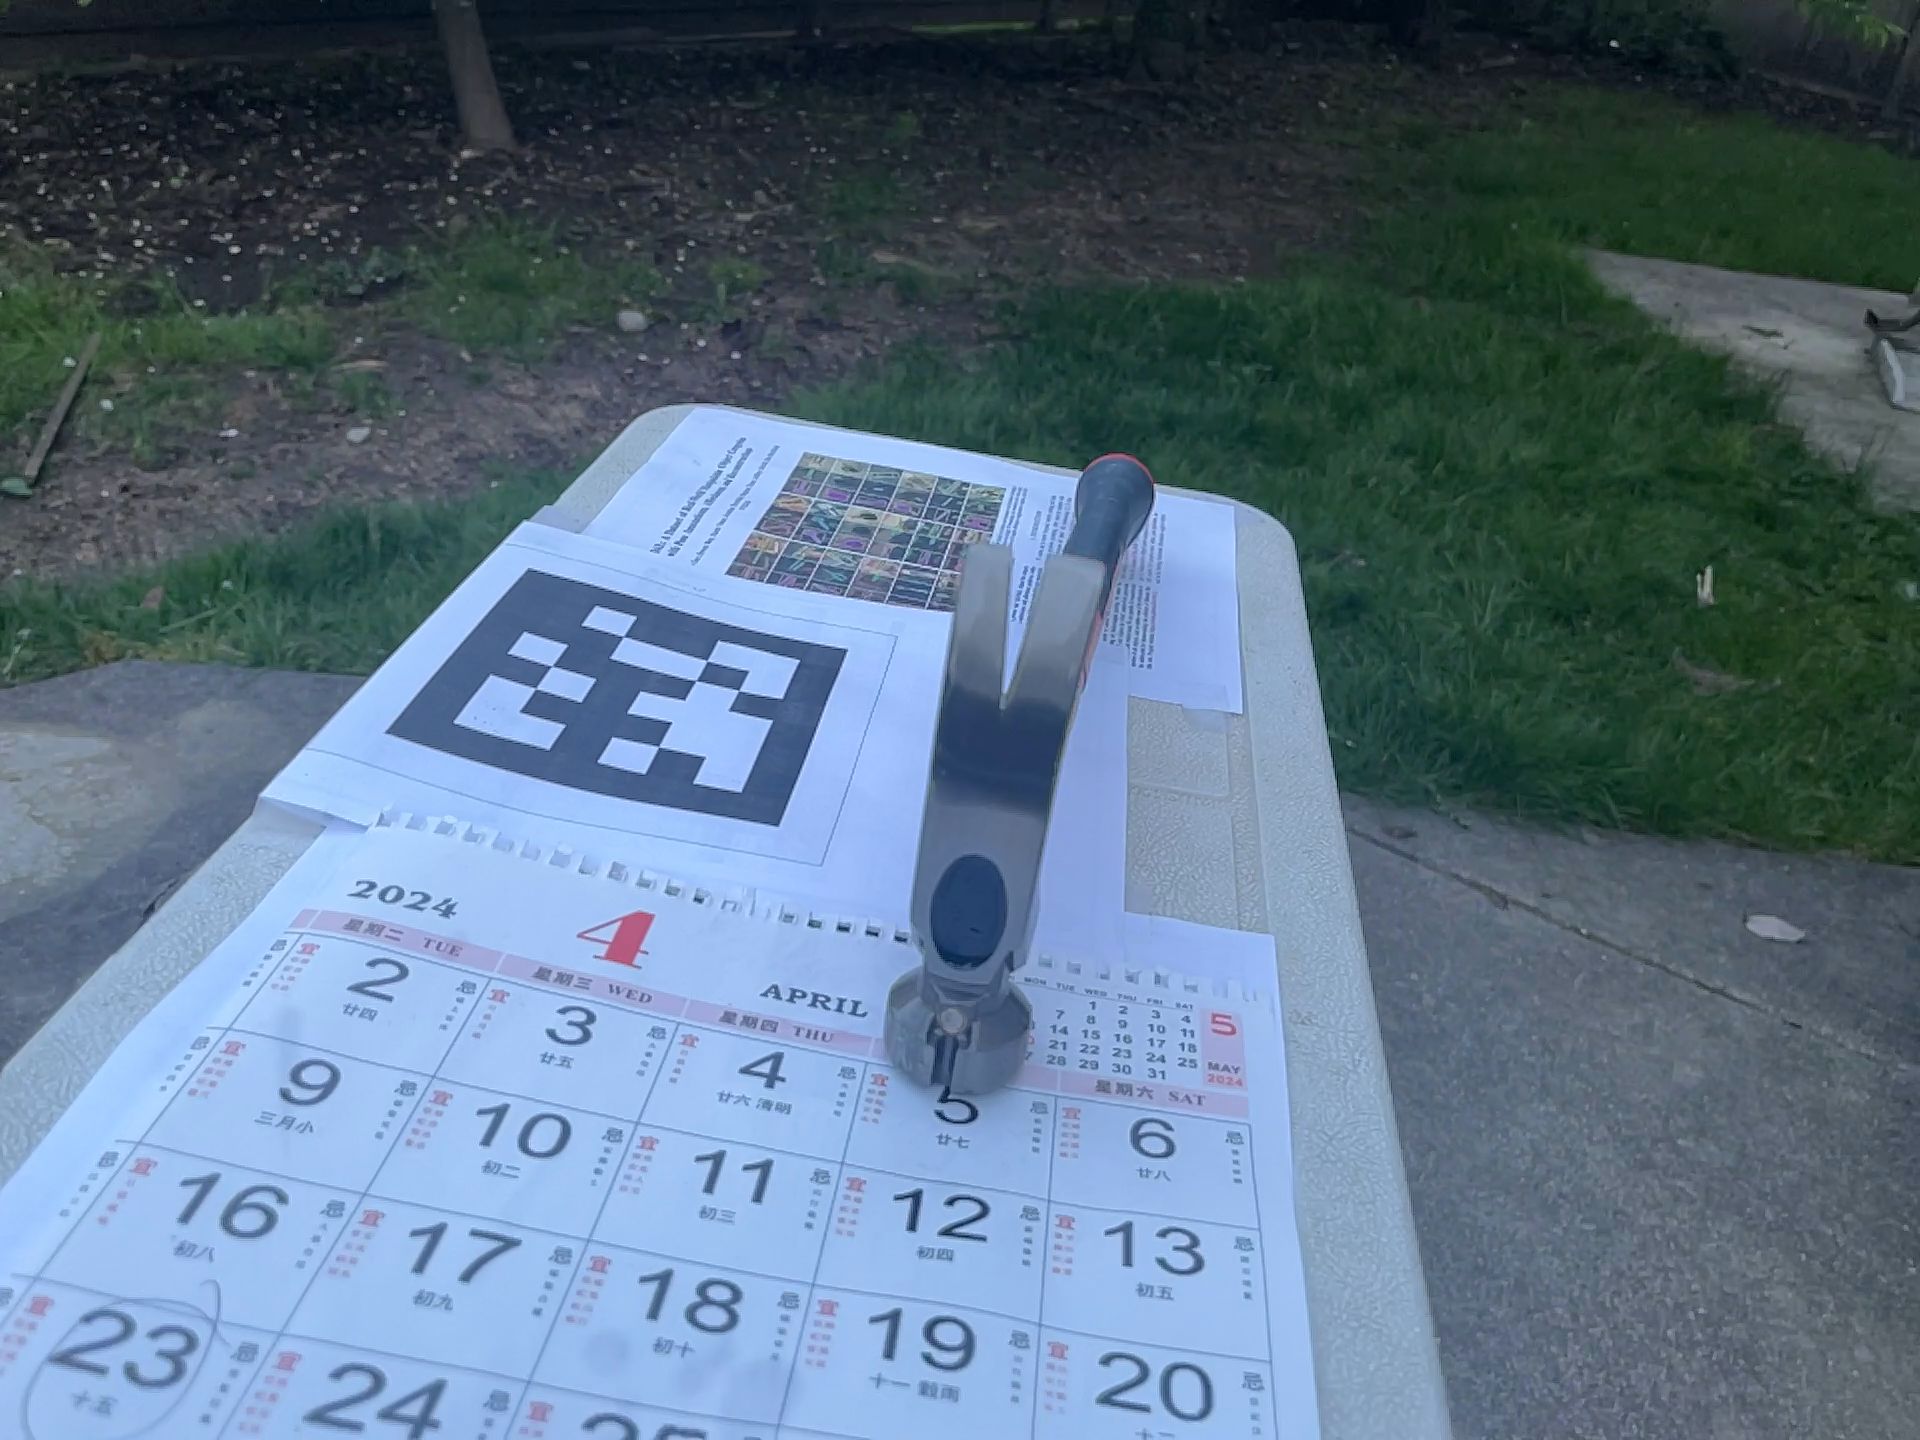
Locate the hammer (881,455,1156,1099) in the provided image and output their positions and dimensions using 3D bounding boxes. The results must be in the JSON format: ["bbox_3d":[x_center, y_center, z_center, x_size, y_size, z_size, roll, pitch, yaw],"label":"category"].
[{"bbox_3d":[0.040,-0.045,0.533,0.038,0.143,0.386,12,26,6],"label":"hammer"}]
